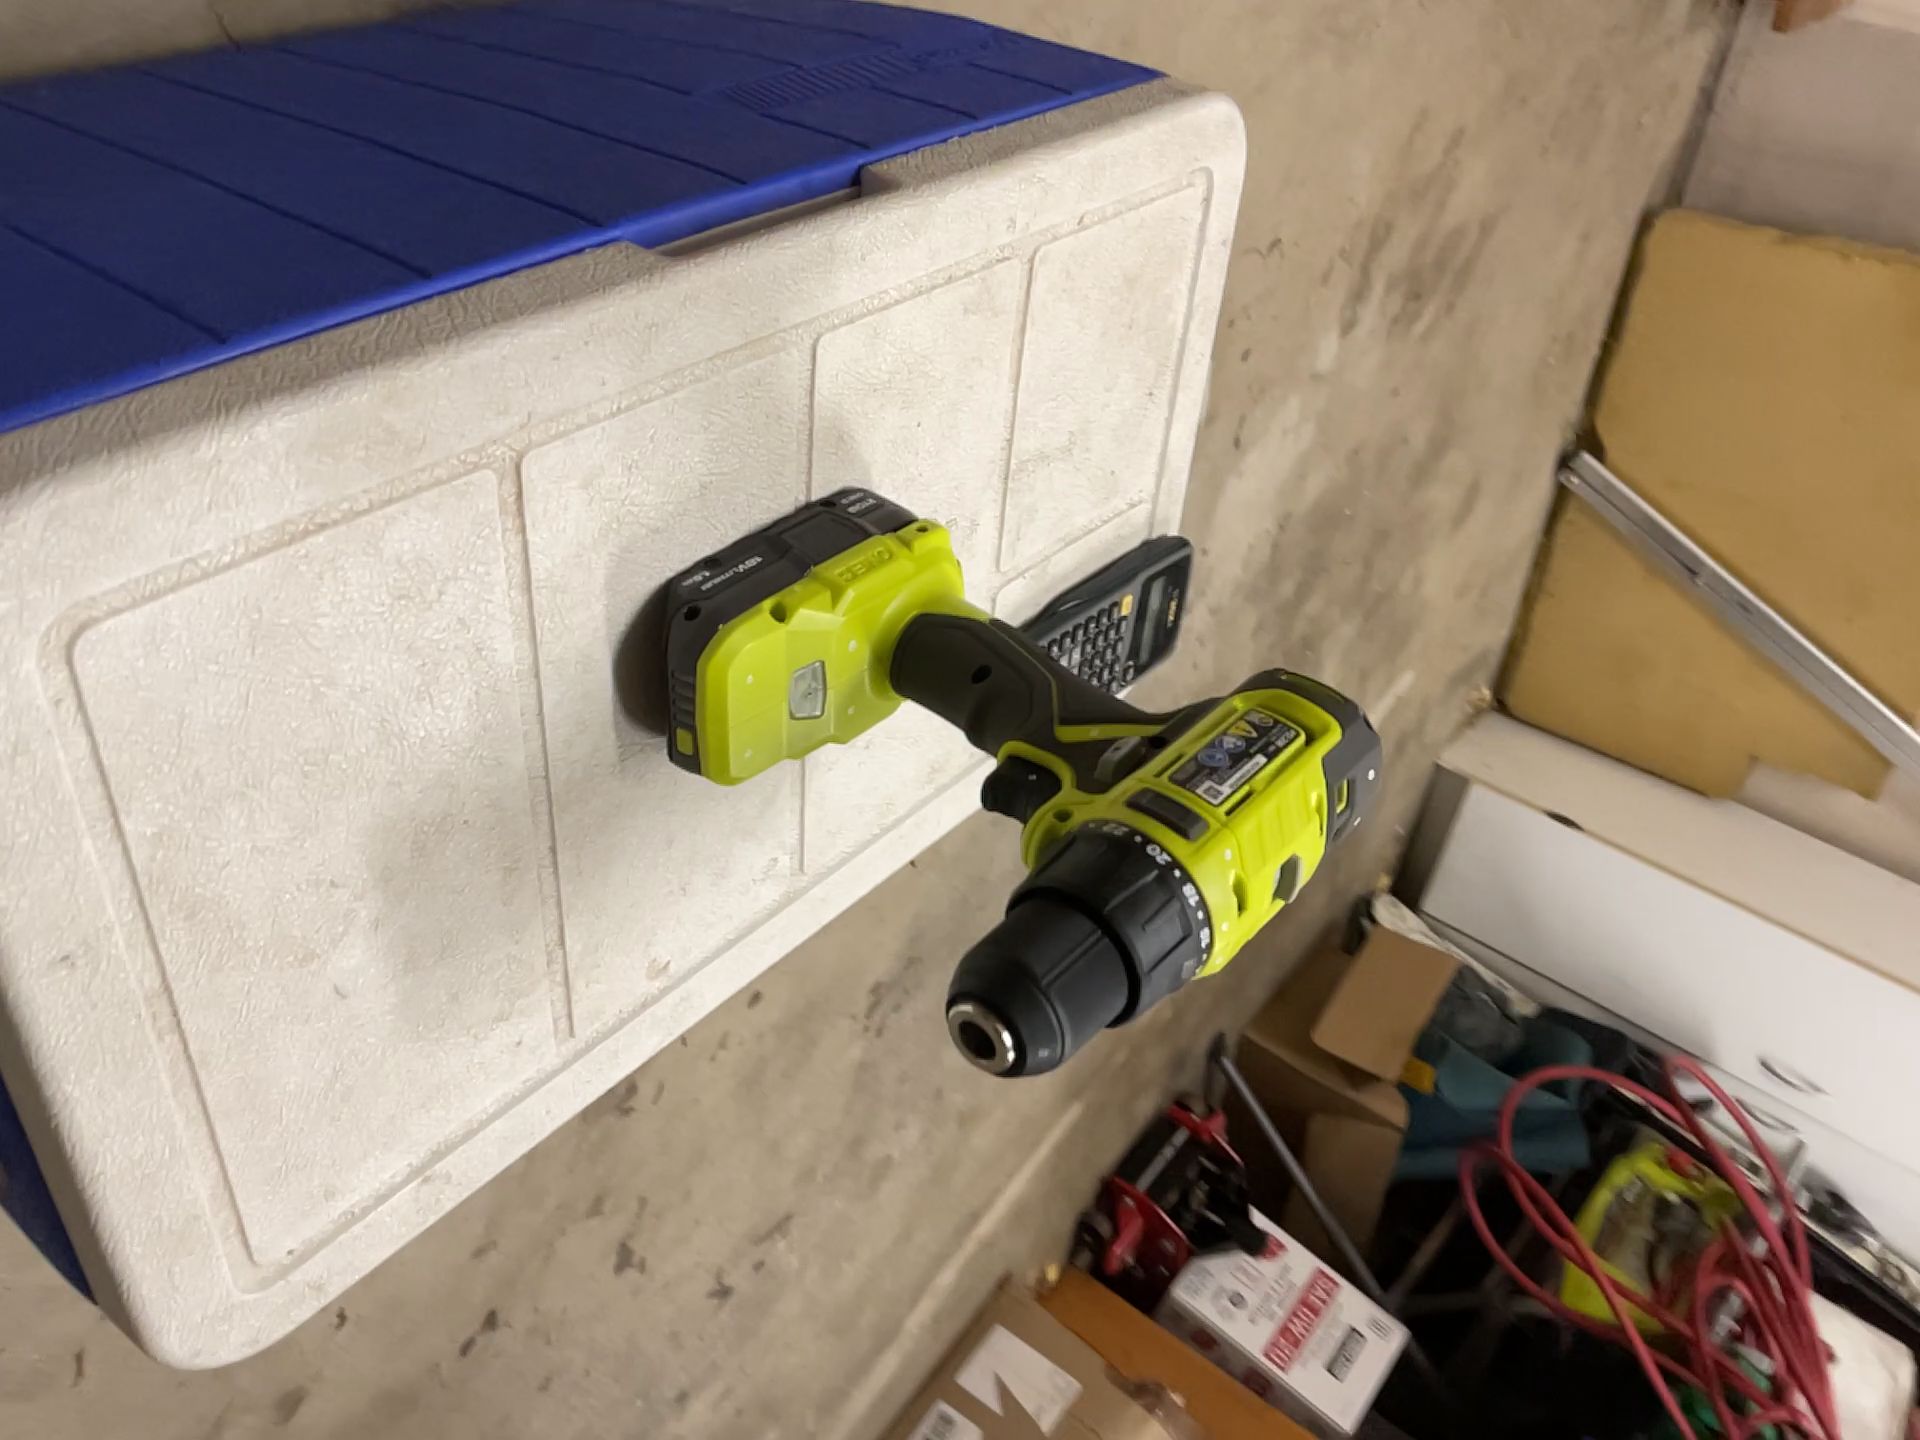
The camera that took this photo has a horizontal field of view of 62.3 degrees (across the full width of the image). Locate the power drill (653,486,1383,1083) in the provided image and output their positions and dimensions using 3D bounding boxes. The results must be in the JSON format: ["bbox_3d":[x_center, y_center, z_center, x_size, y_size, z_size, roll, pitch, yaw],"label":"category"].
[{"bbox_3d":[0.003,0.014,0.539,0.191,0.228,0.080,-34,141,-39],"label":"power drill"}]
